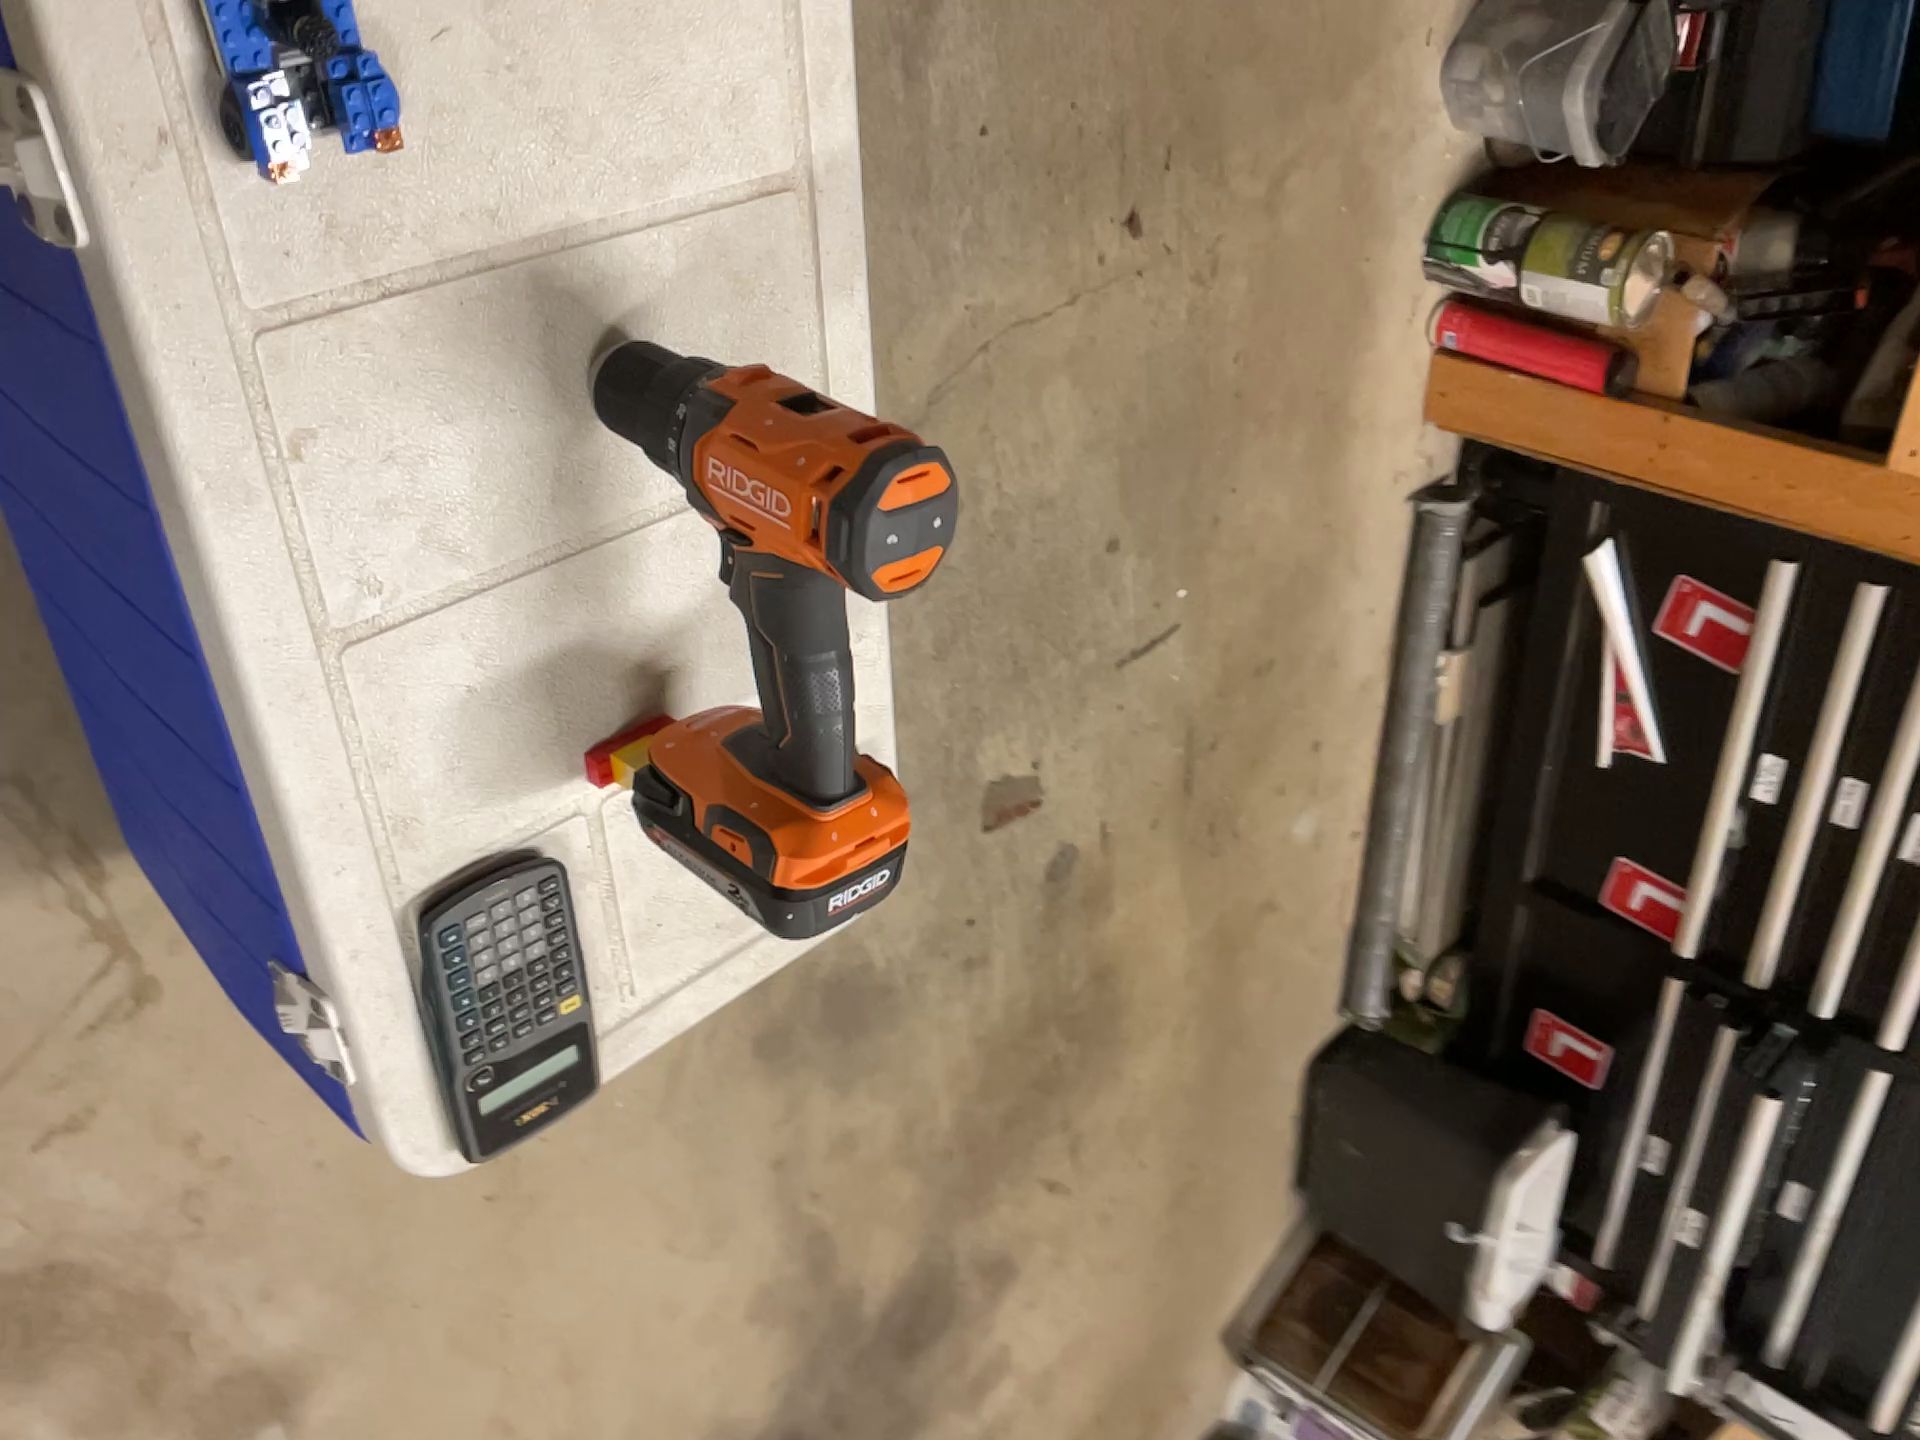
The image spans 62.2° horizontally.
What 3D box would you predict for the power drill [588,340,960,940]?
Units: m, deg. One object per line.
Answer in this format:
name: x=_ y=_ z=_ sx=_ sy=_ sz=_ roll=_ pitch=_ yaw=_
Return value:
power drill: x=-0.092 y=-0.042 z=0.680 sx=0.084 sy=0.185 sz=0.226 roll=-26 pitch=135 yaw=-42
